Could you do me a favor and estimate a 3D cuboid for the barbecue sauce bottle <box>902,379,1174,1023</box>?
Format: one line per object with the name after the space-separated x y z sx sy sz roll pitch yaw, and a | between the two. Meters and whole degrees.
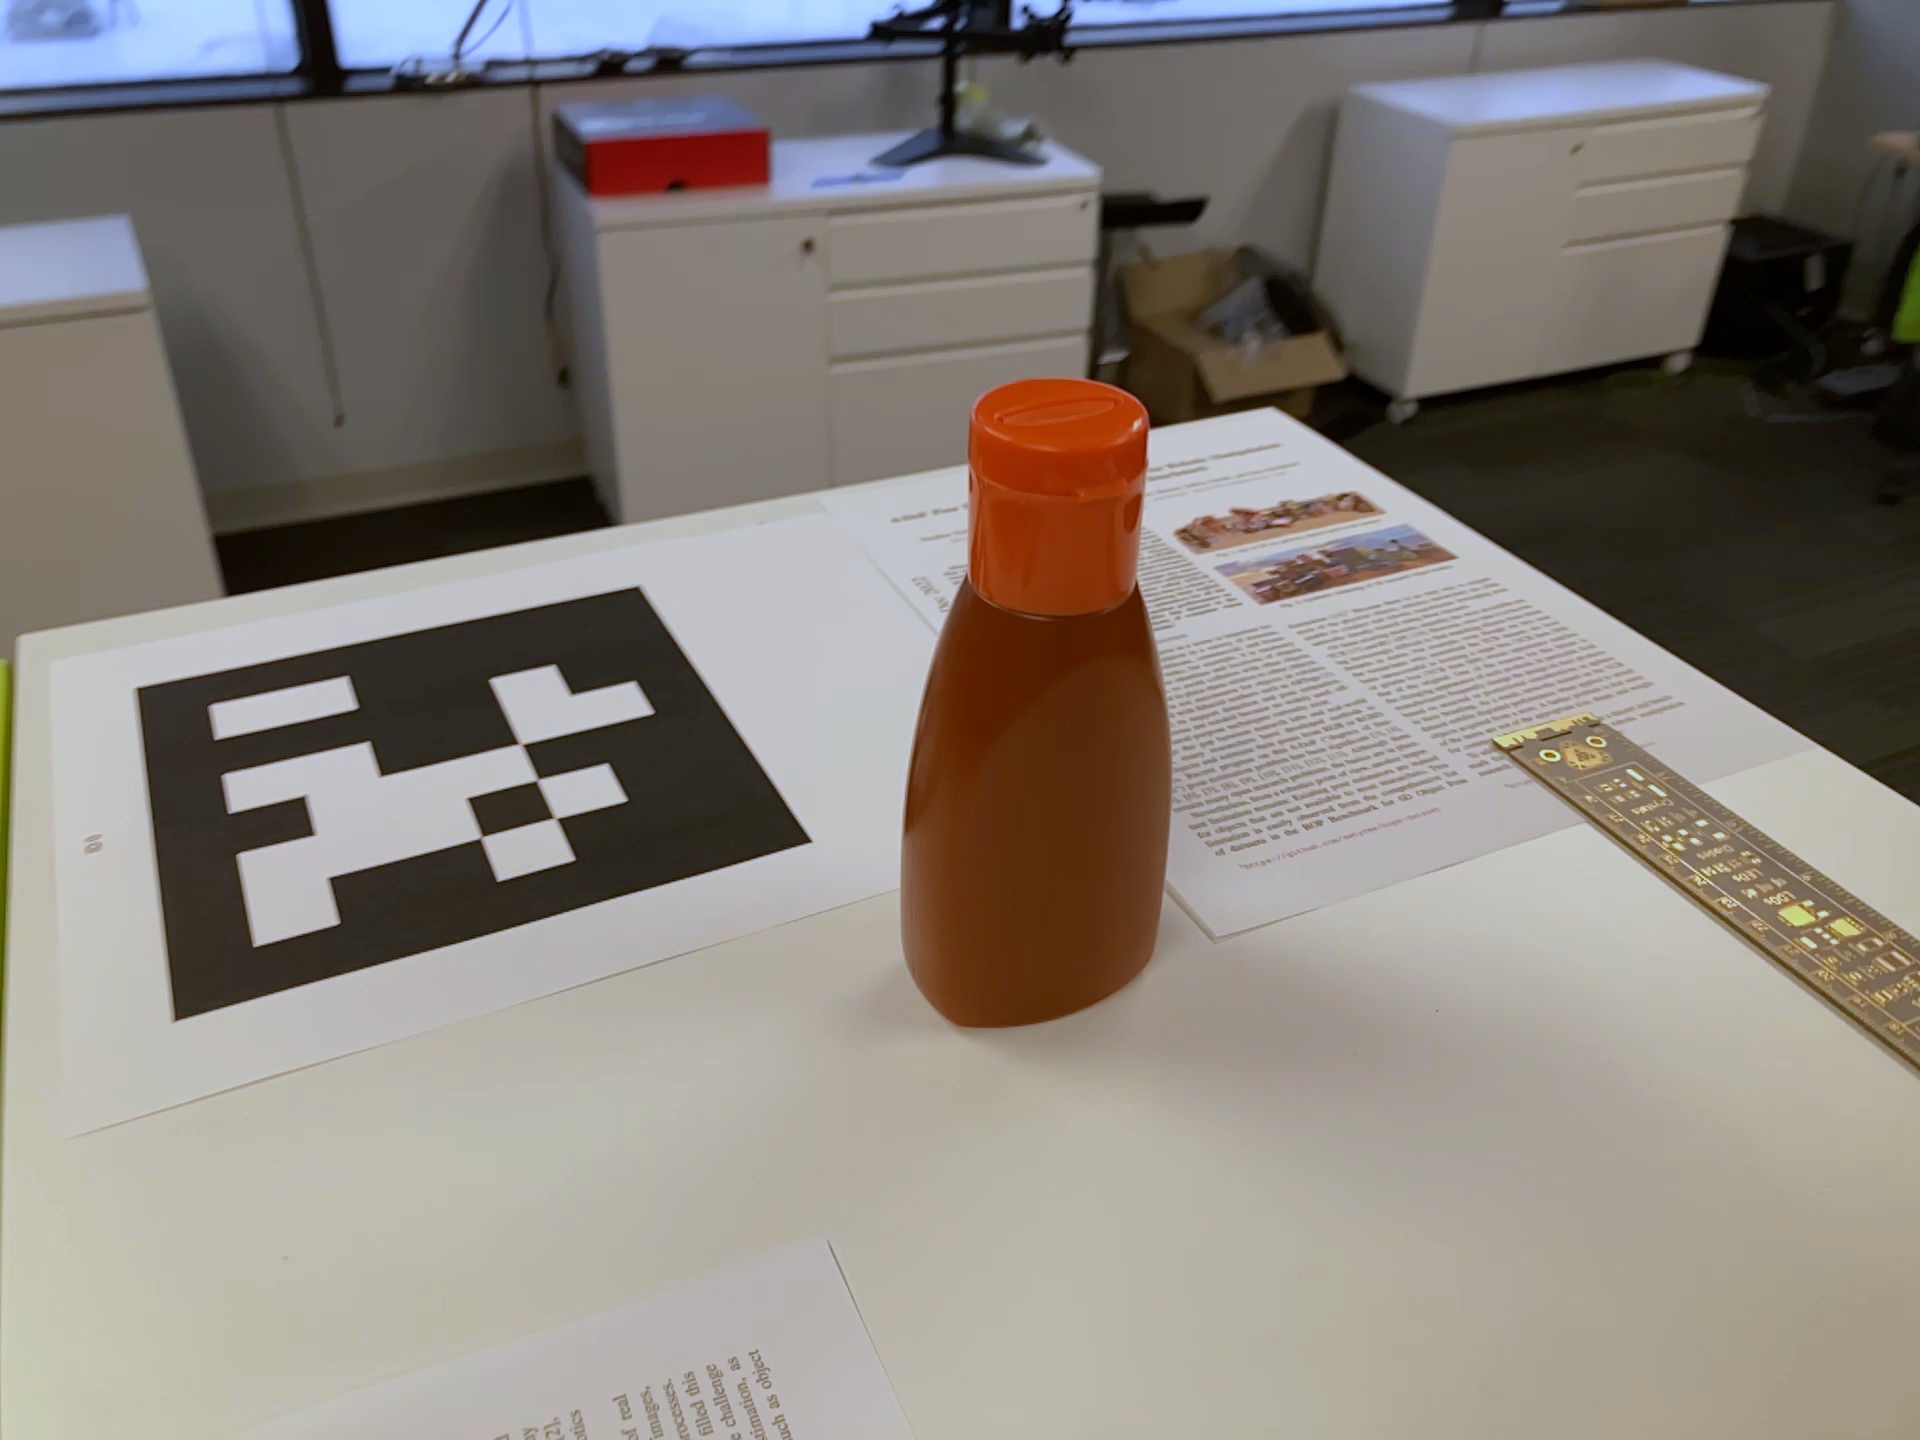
0.019 0.000 0.359 0.065 0.148 0.043 -13 36 -21 | barbecue sauce bottle
